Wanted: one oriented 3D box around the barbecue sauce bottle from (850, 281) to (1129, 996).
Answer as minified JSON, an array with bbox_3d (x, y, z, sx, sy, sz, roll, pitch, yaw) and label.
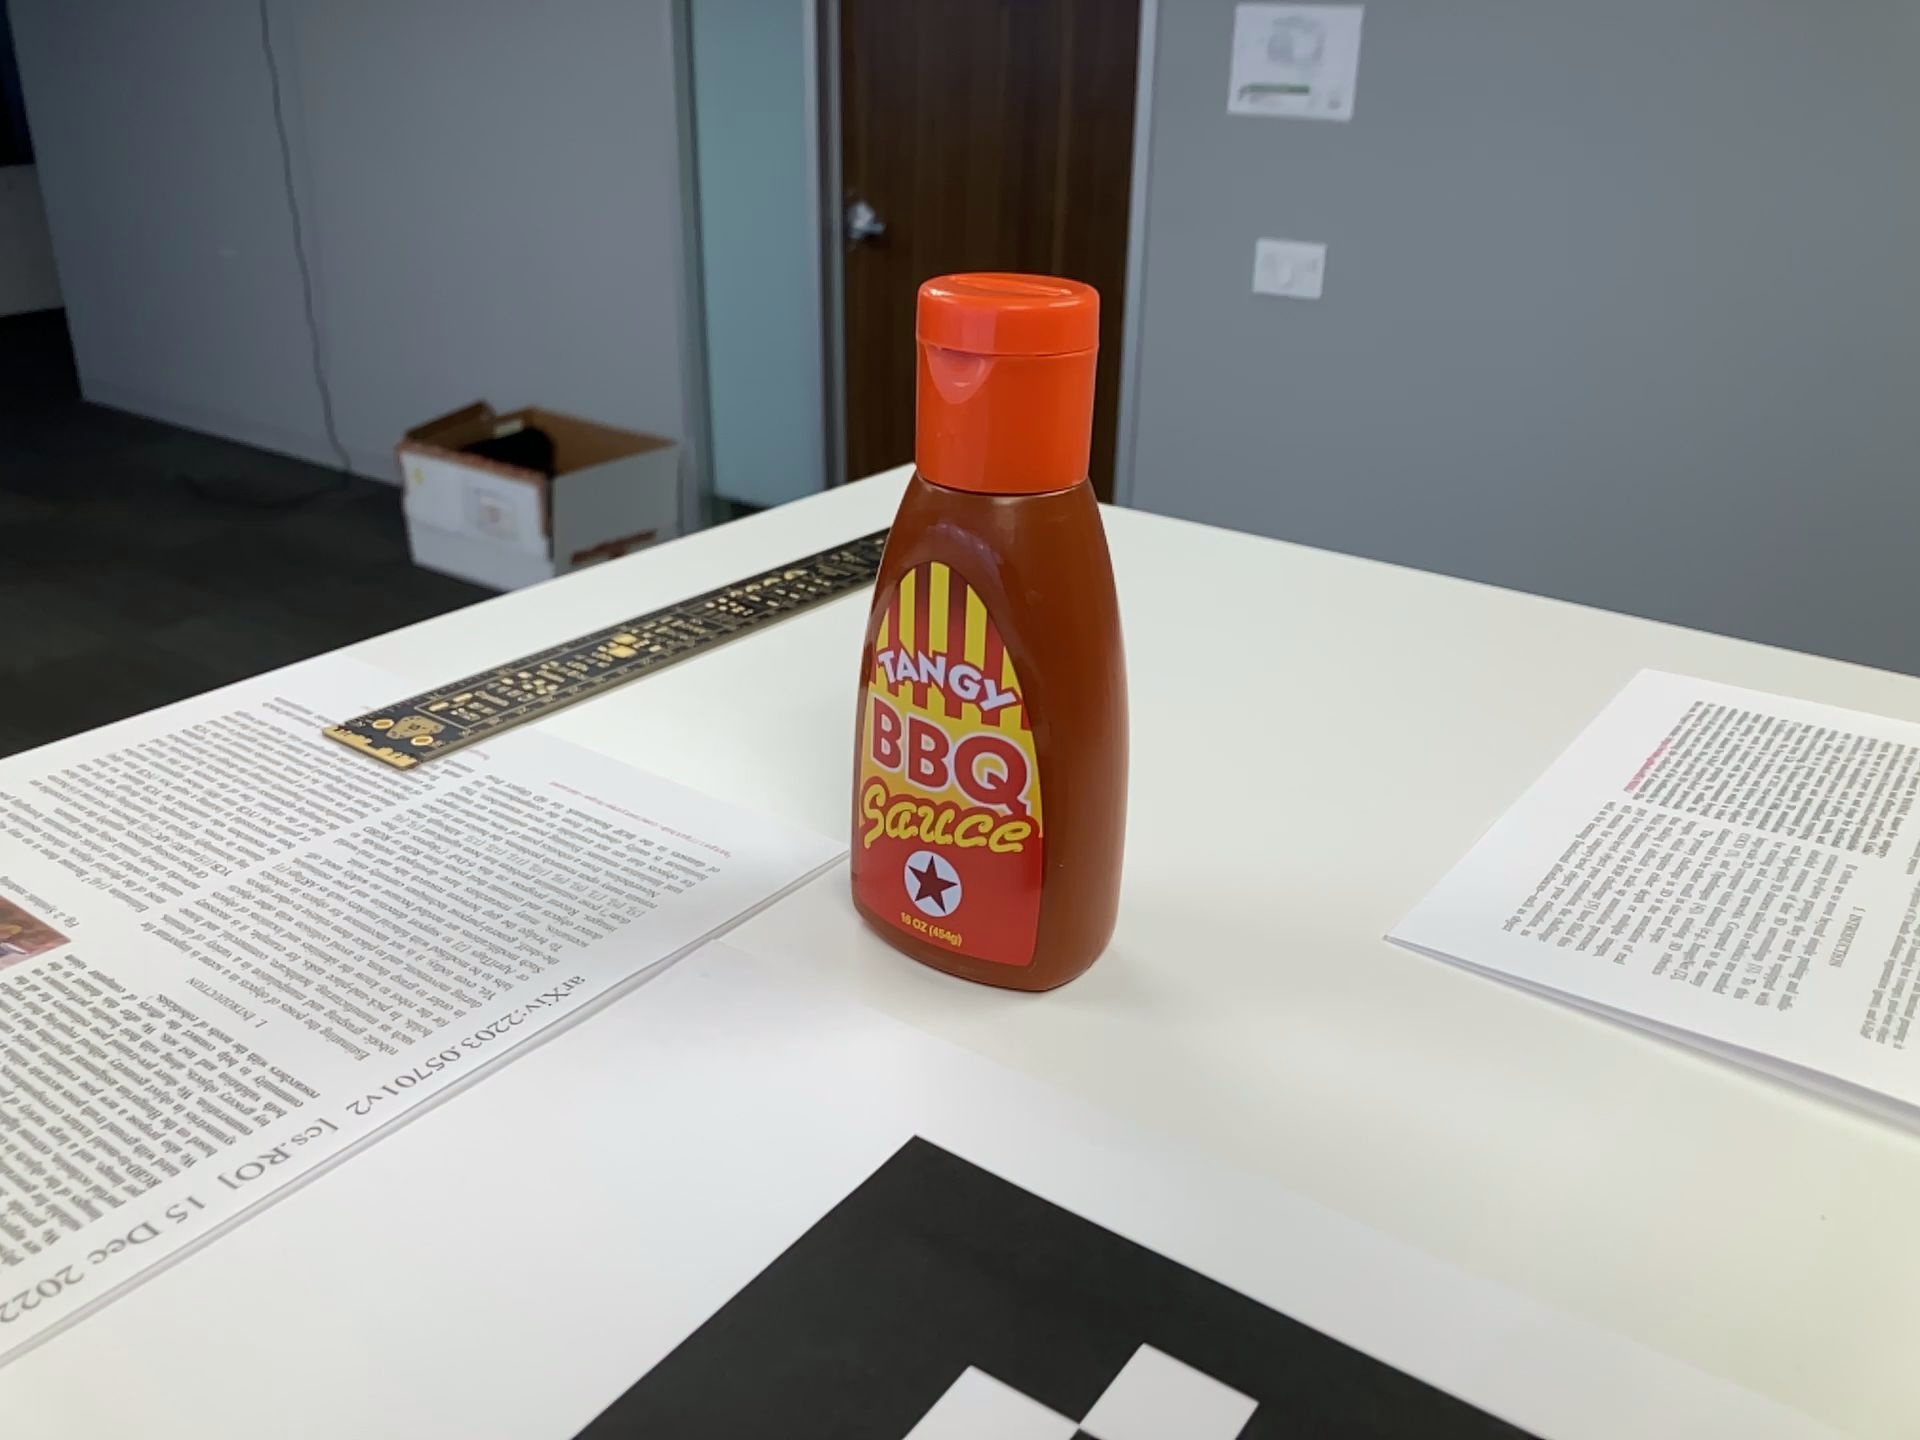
[{"bbox_3d":[0.007,-0.017,0.344,0.065,0.148,0.043,19,28,33],"label":"barbecue sauce bottle"}]
